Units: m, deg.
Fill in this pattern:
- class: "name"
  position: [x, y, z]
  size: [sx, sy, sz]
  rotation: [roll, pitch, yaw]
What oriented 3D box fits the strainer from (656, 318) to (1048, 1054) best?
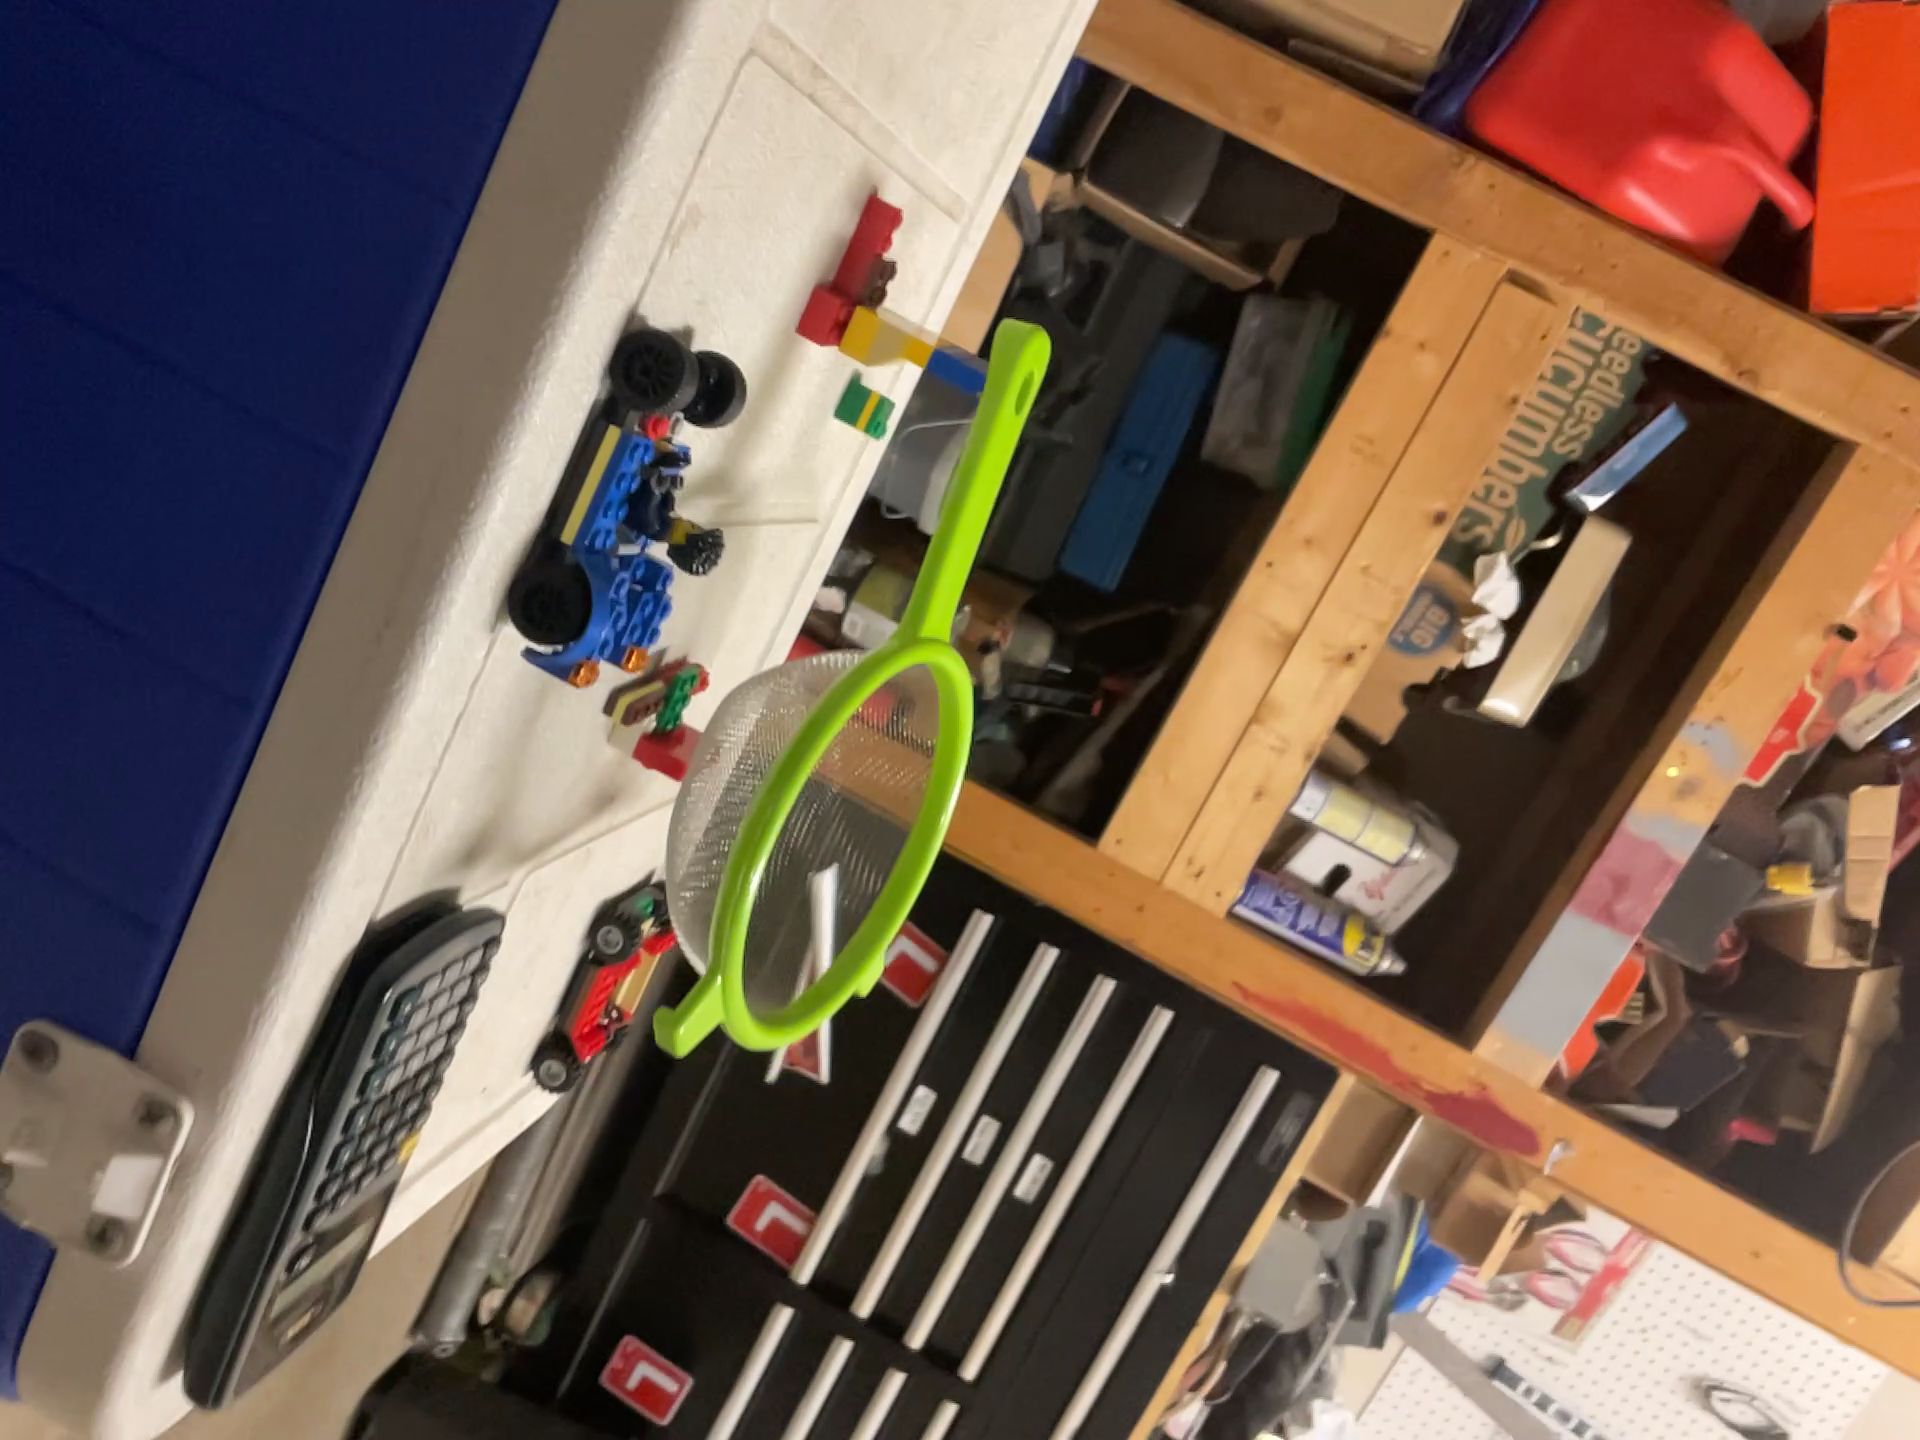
- class: "strainer"
  position: [-0.042, -0.018, 0.544]
  size: [0.151, 0.069, 0.256]
  rotation: [4, 106, -69]
